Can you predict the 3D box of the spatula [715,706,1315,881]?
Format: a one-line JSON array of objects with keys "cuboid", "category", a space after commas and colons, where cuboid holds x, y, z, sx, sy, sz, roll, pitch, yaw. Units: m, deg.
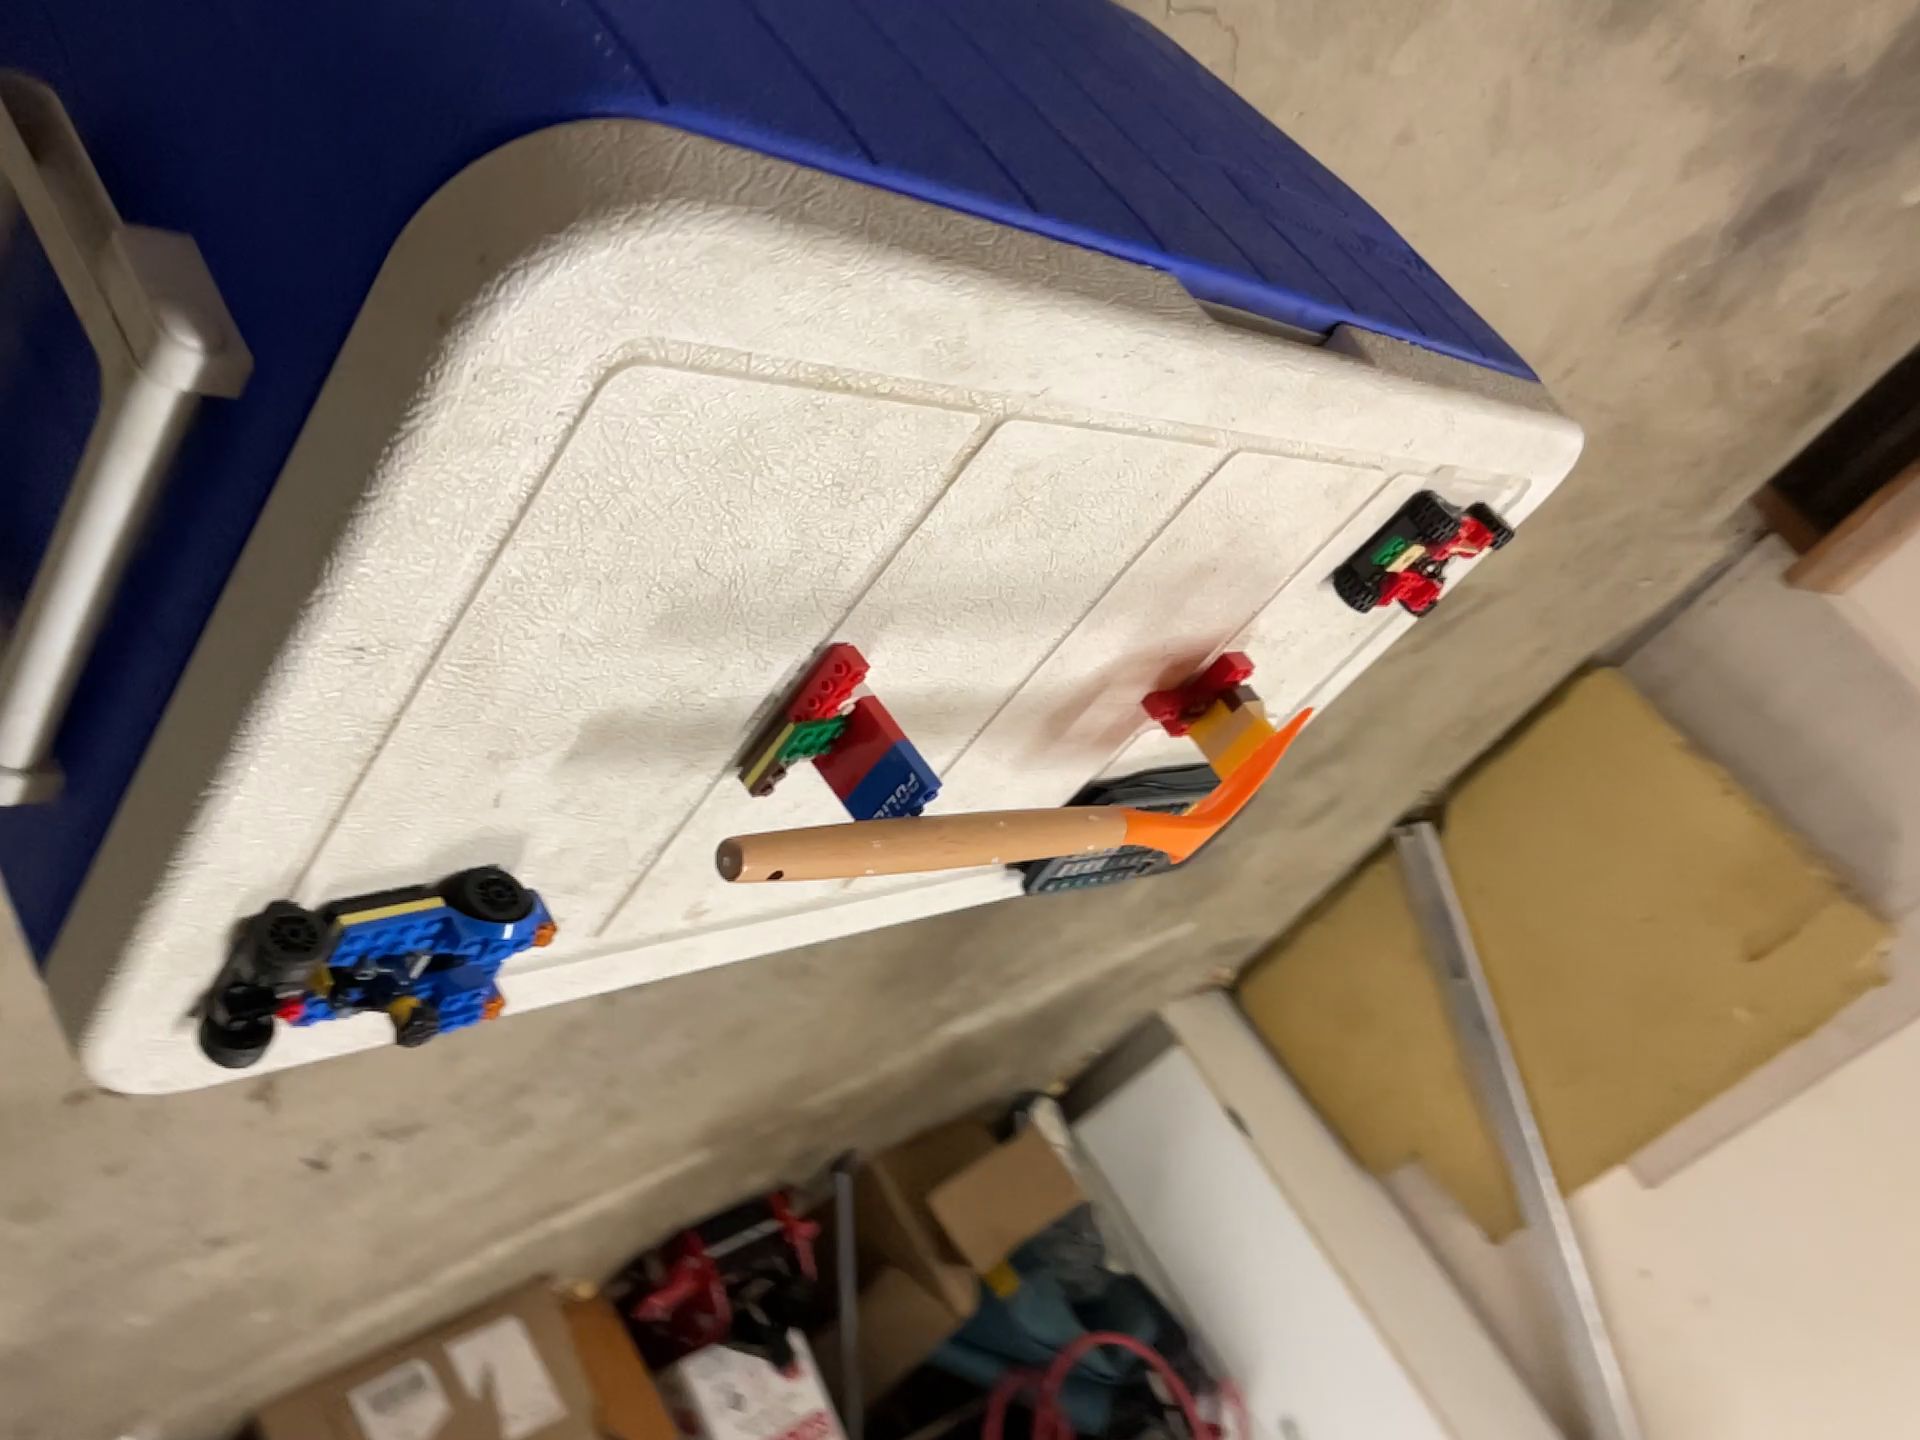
[{"cuboid": [0.035, 0.032, 0.575, 0.322, 0.041, 0.081, 0, 140, -49], "category": "spatula"}]
